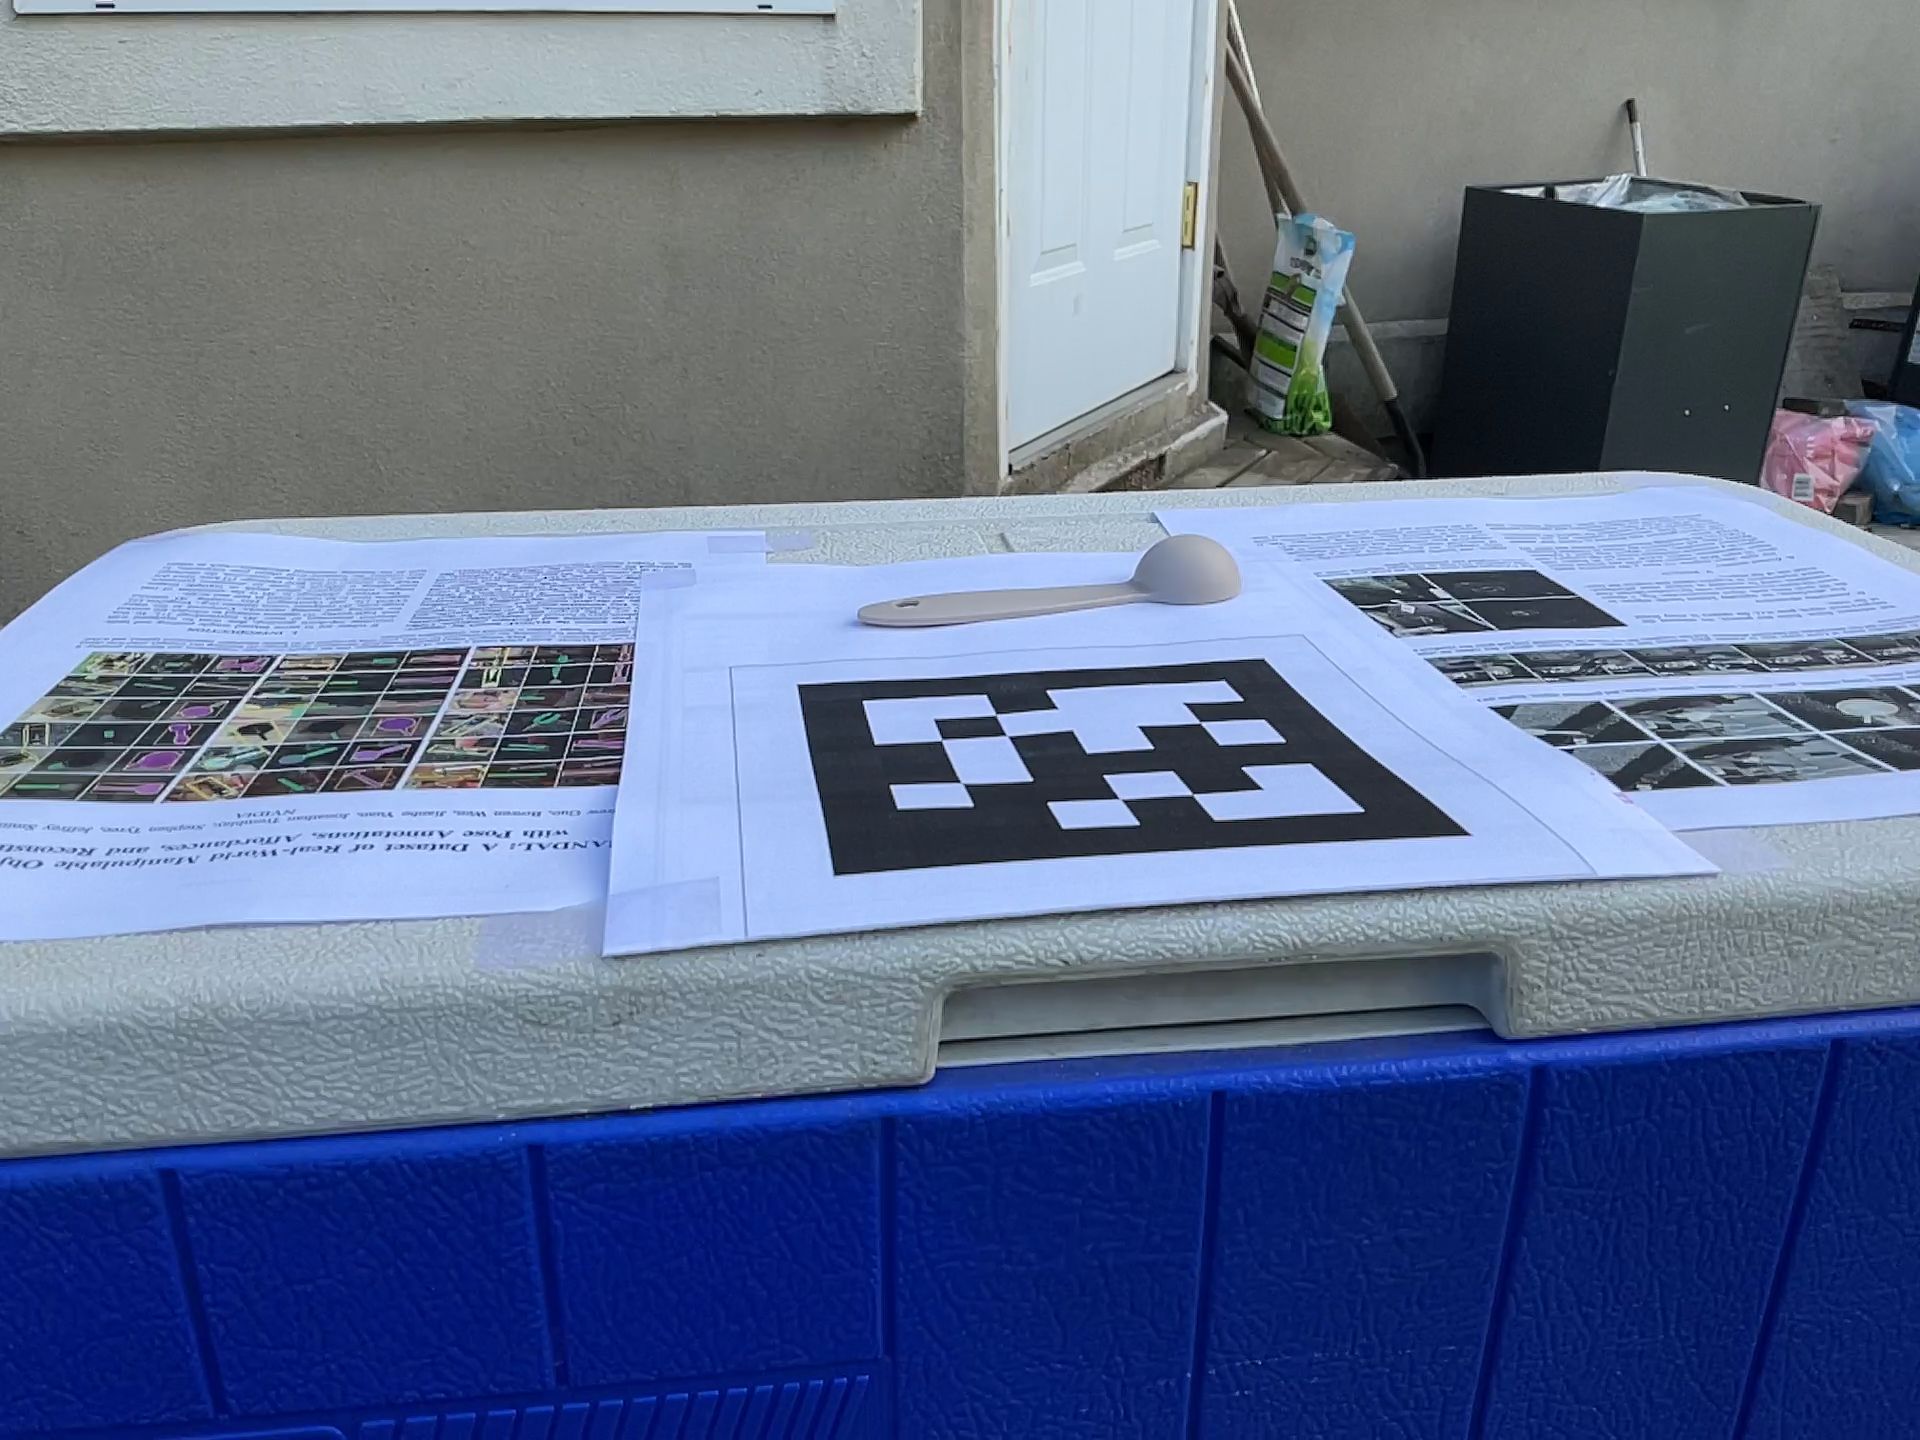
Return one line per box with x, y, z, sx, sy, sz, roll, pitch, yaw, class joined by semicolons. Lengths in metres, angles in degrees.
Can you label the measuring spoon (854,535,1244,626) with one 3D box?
0.028;-0.043;0.482;0.124;0.018;0.034;-7;23;-17;measuring spoon
